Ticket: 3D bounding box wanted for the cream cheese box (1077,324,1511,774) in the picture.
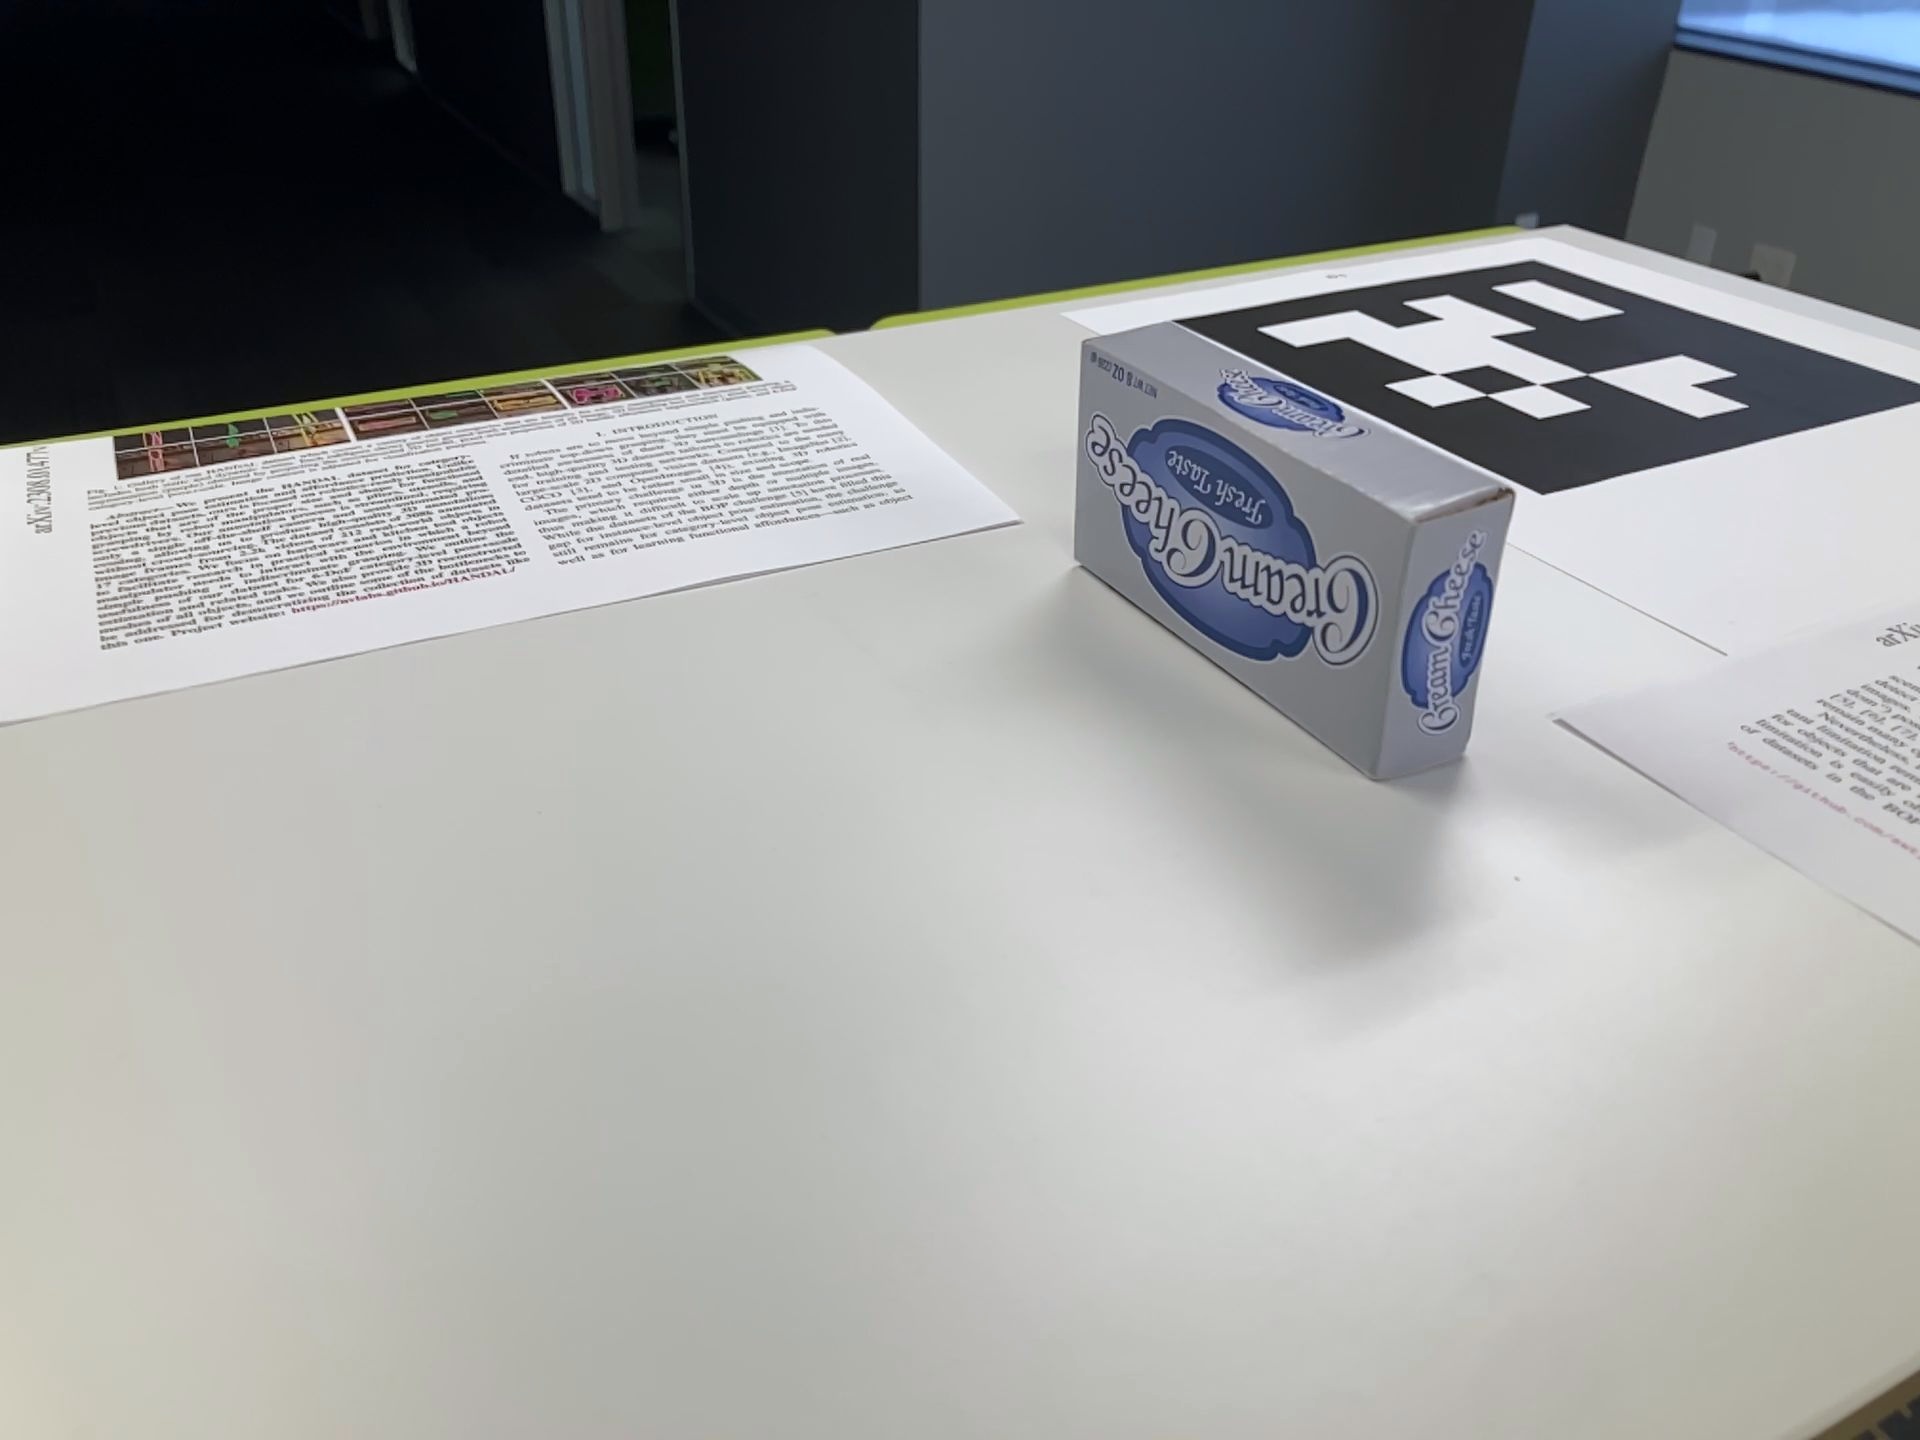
[{"bbox_3d":[0.060,-0.037,0.313,0.024,0.053,0.104,-17,35,-23],"label":"cream cheese box"}]
